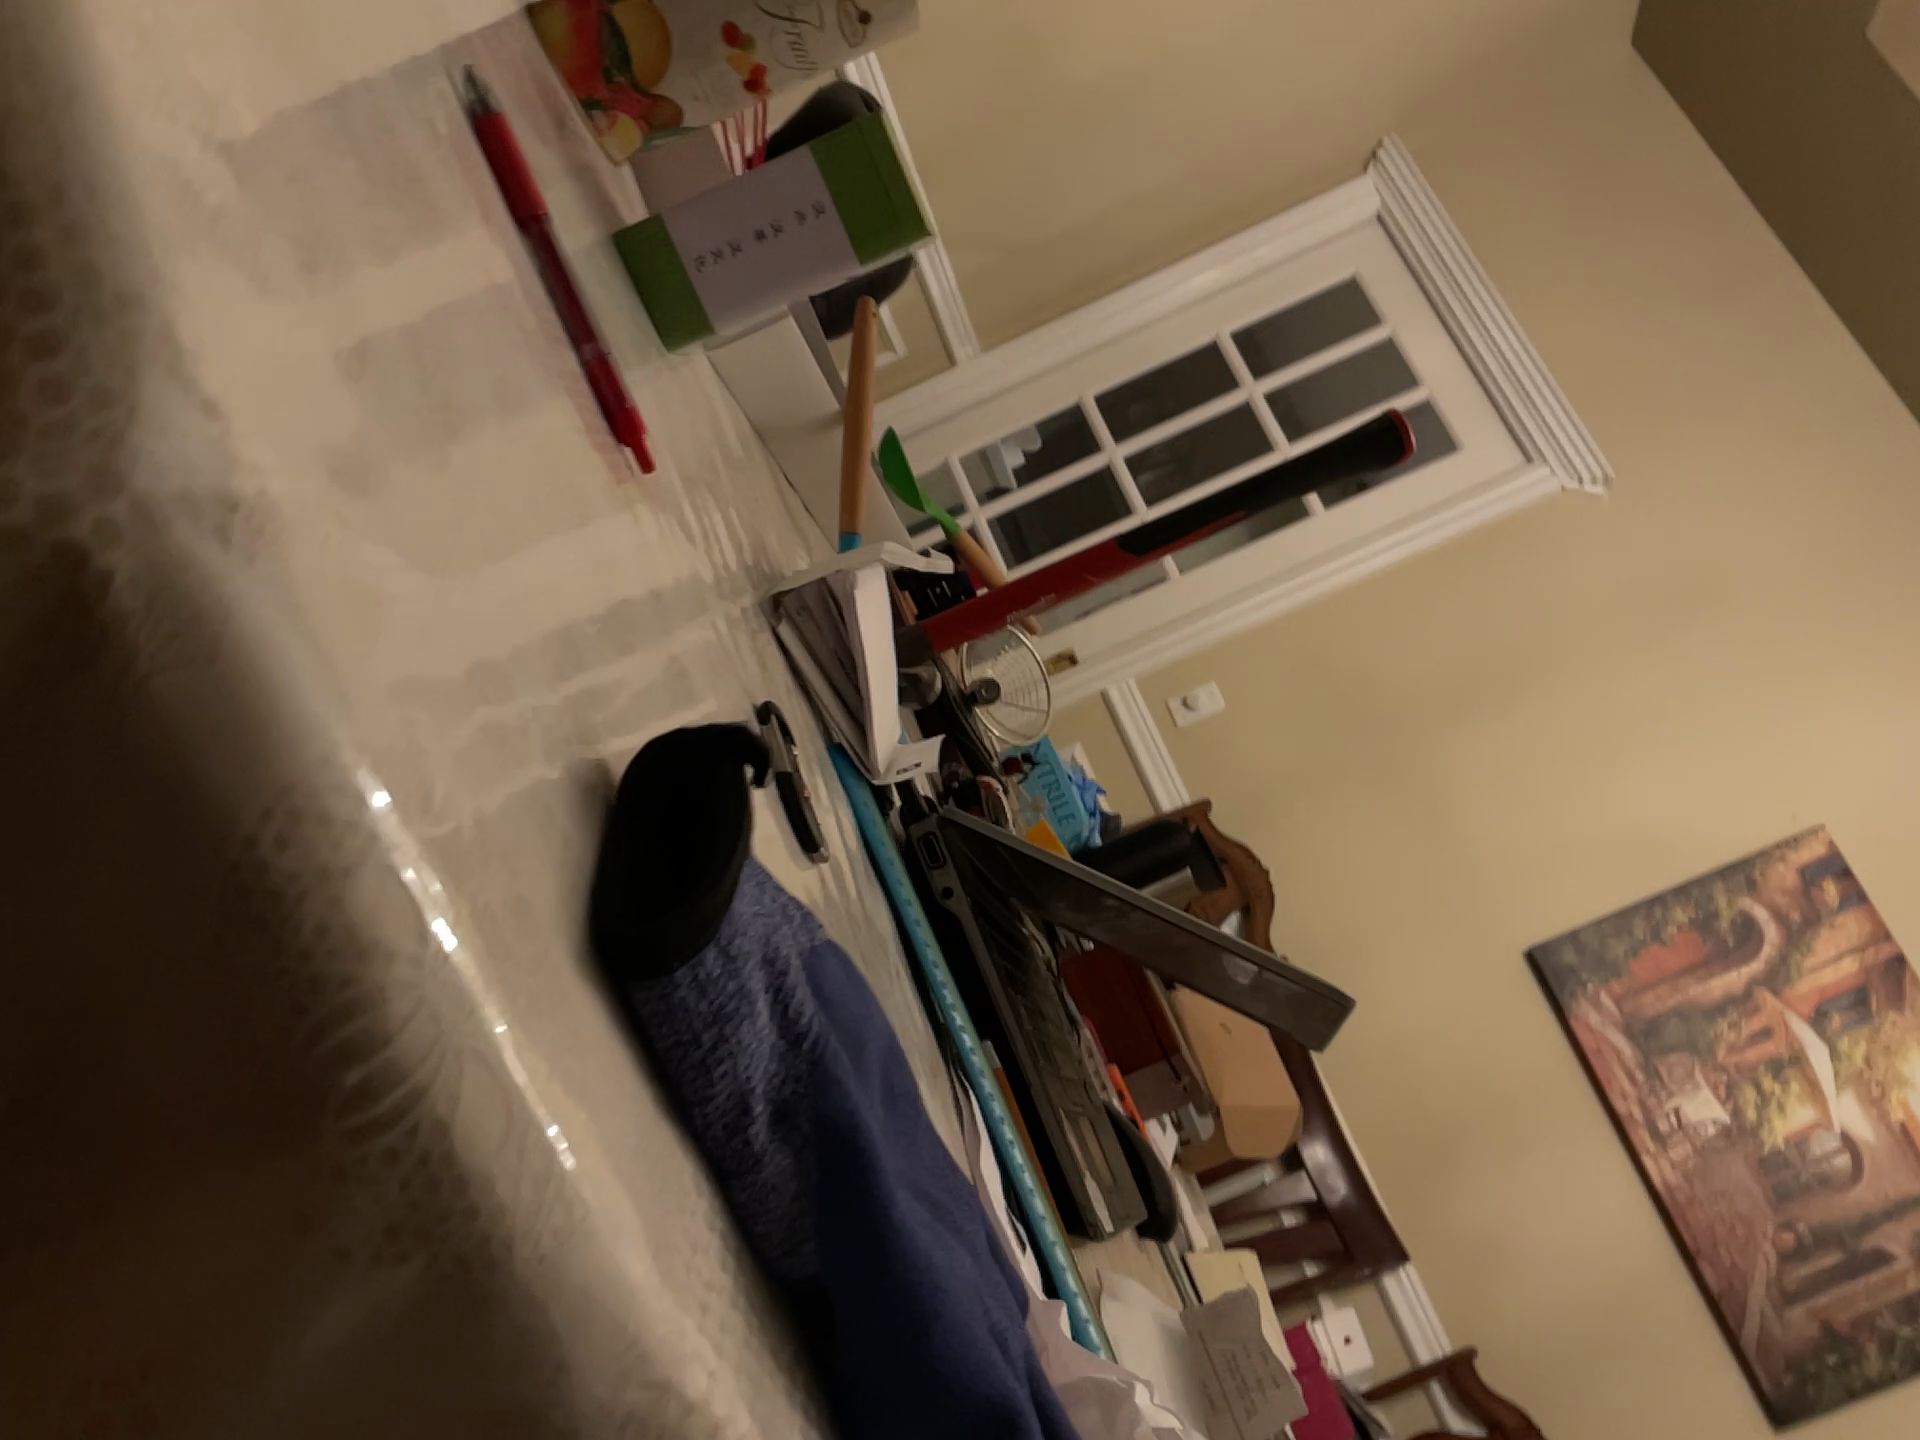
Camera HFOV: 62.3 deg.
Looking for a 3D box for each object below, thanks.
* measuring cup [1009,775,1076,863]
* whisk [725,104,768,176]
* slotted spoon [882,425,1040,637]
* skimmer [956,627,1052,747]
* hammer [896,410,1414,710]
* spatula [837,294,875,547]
[{"bbox_3d":[0.060,0.089,1.533,0.157,0.029,0.062,54,1,24],"label":"measuring cup"},{"bbox_3d":[-0.147,-0.344,1.066,0.073,0.073,0.295,-82,168,-48],"label":"whisk"},{"bbox_3d":[0.006,-0.147,1.356,0.313,0.031,0.070,46,17,-54],"label":"slotted spoon"},{"bbox_3d":[0.044,-0.034,1.405,0.363,0.090,0.127,171,-103,-89],"label":"skimmer"},{"bbox_3d":[0.113,-0.120,1.048,0.143,0.386,0.038,59,8,-64],"label":"hammer"},{"bbox_3d":[-0.055,-0.134,0.976,0.082,0.044,0.317,57,30,-61],"label":"spatula"}]
